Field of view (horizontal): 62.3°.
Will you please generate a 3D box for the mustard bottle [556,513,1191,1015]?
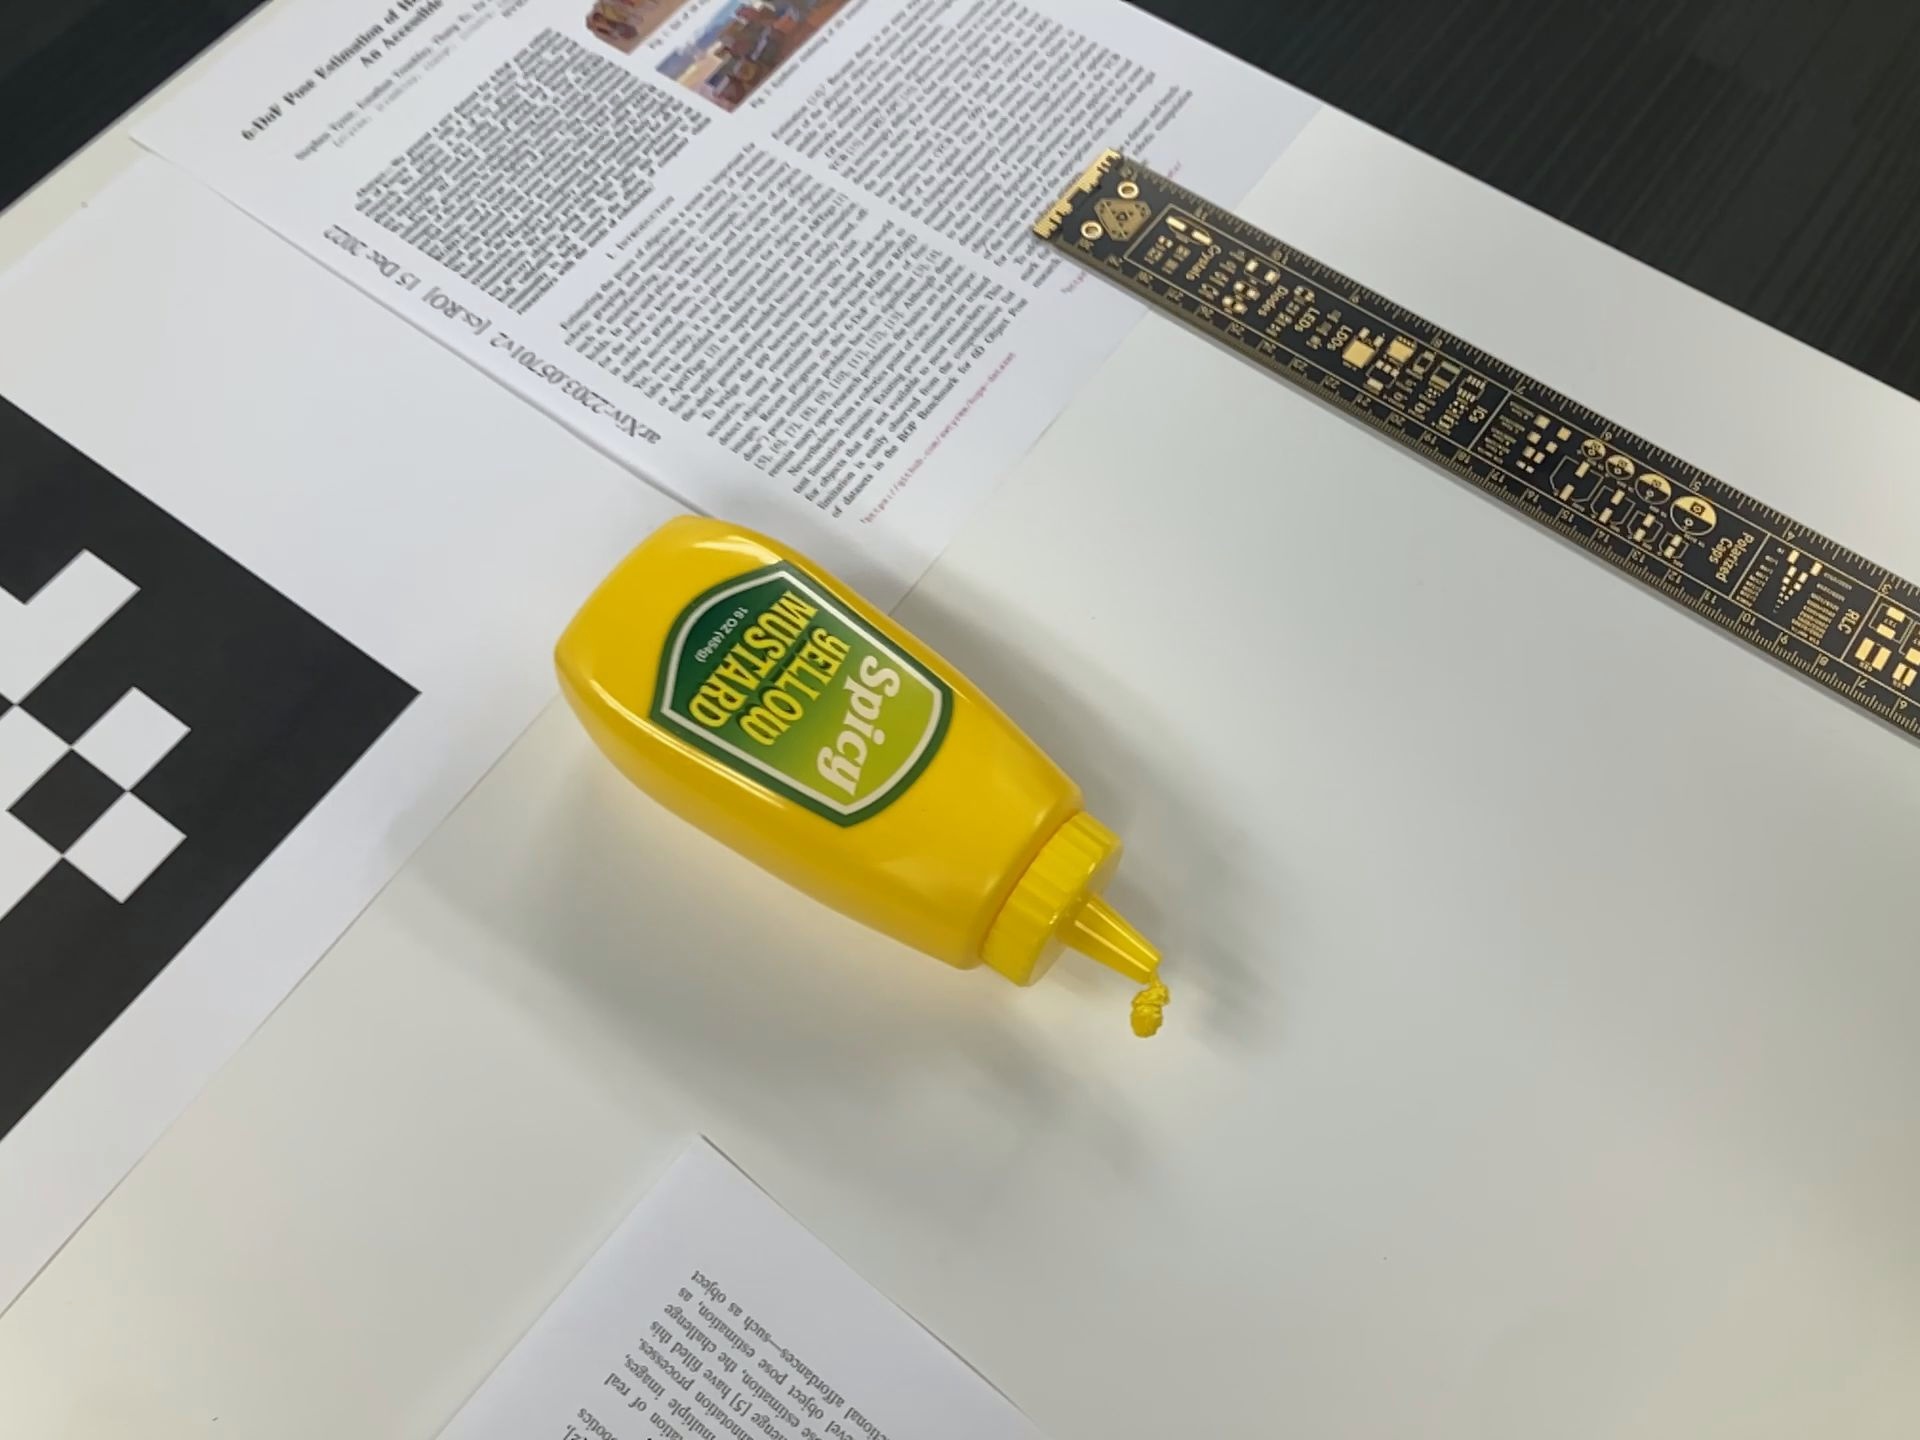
[{"bbox_3d":[-0.014,0.015,0.356,0.160,0.049,0.065,32,71,14],"label":"mustard bottle"}]
